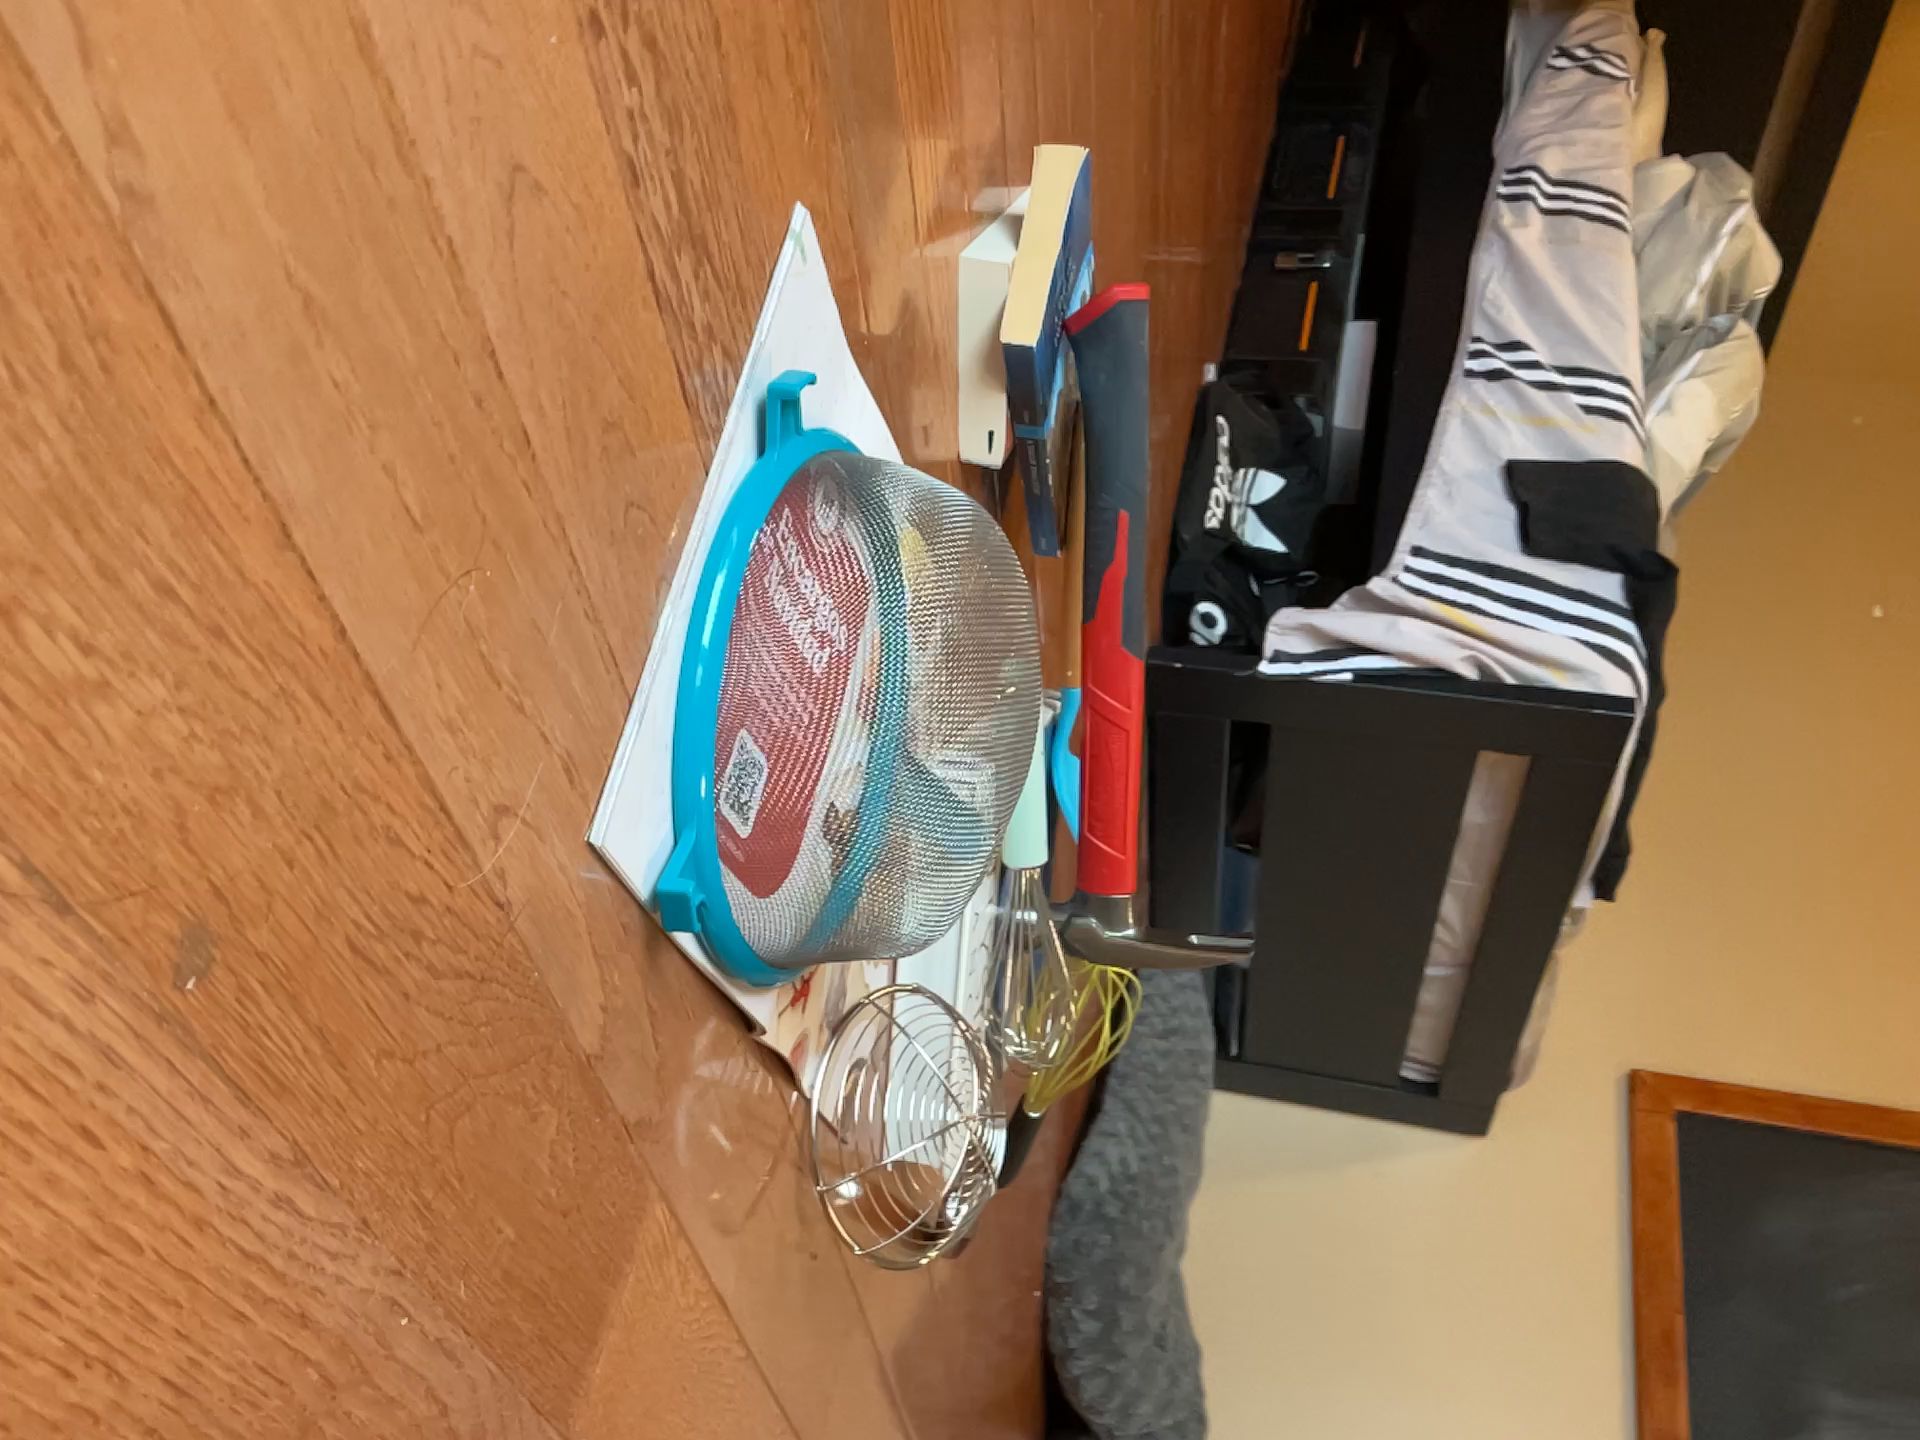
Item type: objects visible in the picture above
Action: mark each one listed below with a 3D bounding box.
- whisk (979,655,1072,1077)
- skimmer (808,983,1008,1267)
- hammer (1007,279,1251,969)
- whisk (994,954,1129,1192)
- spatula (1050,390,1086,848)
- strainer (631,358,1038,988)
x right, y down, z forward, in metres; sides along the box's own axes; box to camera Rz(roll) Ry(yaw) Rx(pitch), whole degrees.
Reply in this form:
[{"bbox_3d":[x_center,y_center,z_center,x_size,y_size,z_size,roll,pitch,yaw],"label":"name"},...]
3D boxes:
[{"bbox_3d":[0.034,0.082,0.862,0.059,0.057,0.246,-19,115,-42],"label":"whisk"},{"bbox_3d":[-0.029,0.246,0.859,0.363,0.090,0.127,96,4,-64],"label":"skimmer"},{"bbox_3d":[0.099,-0.045,0.885,0.038,0.143,0.386,-57,148,-70],"label":"hammer"},{"bbox_3d":[0.057,0.253,1.103,0.311,0.067,0.080,105,-12,-46],"label":"whisk"},{"bbox_3d":[0.080,-0.047,0.982,0.082,0.044,0.317,-58,152,-59],"label":"spatula"},{"bbox_3d":[-0.005,0.015,0.642,0.340,0.095,0.211,45,52,-66],"label":"strainer"}]
